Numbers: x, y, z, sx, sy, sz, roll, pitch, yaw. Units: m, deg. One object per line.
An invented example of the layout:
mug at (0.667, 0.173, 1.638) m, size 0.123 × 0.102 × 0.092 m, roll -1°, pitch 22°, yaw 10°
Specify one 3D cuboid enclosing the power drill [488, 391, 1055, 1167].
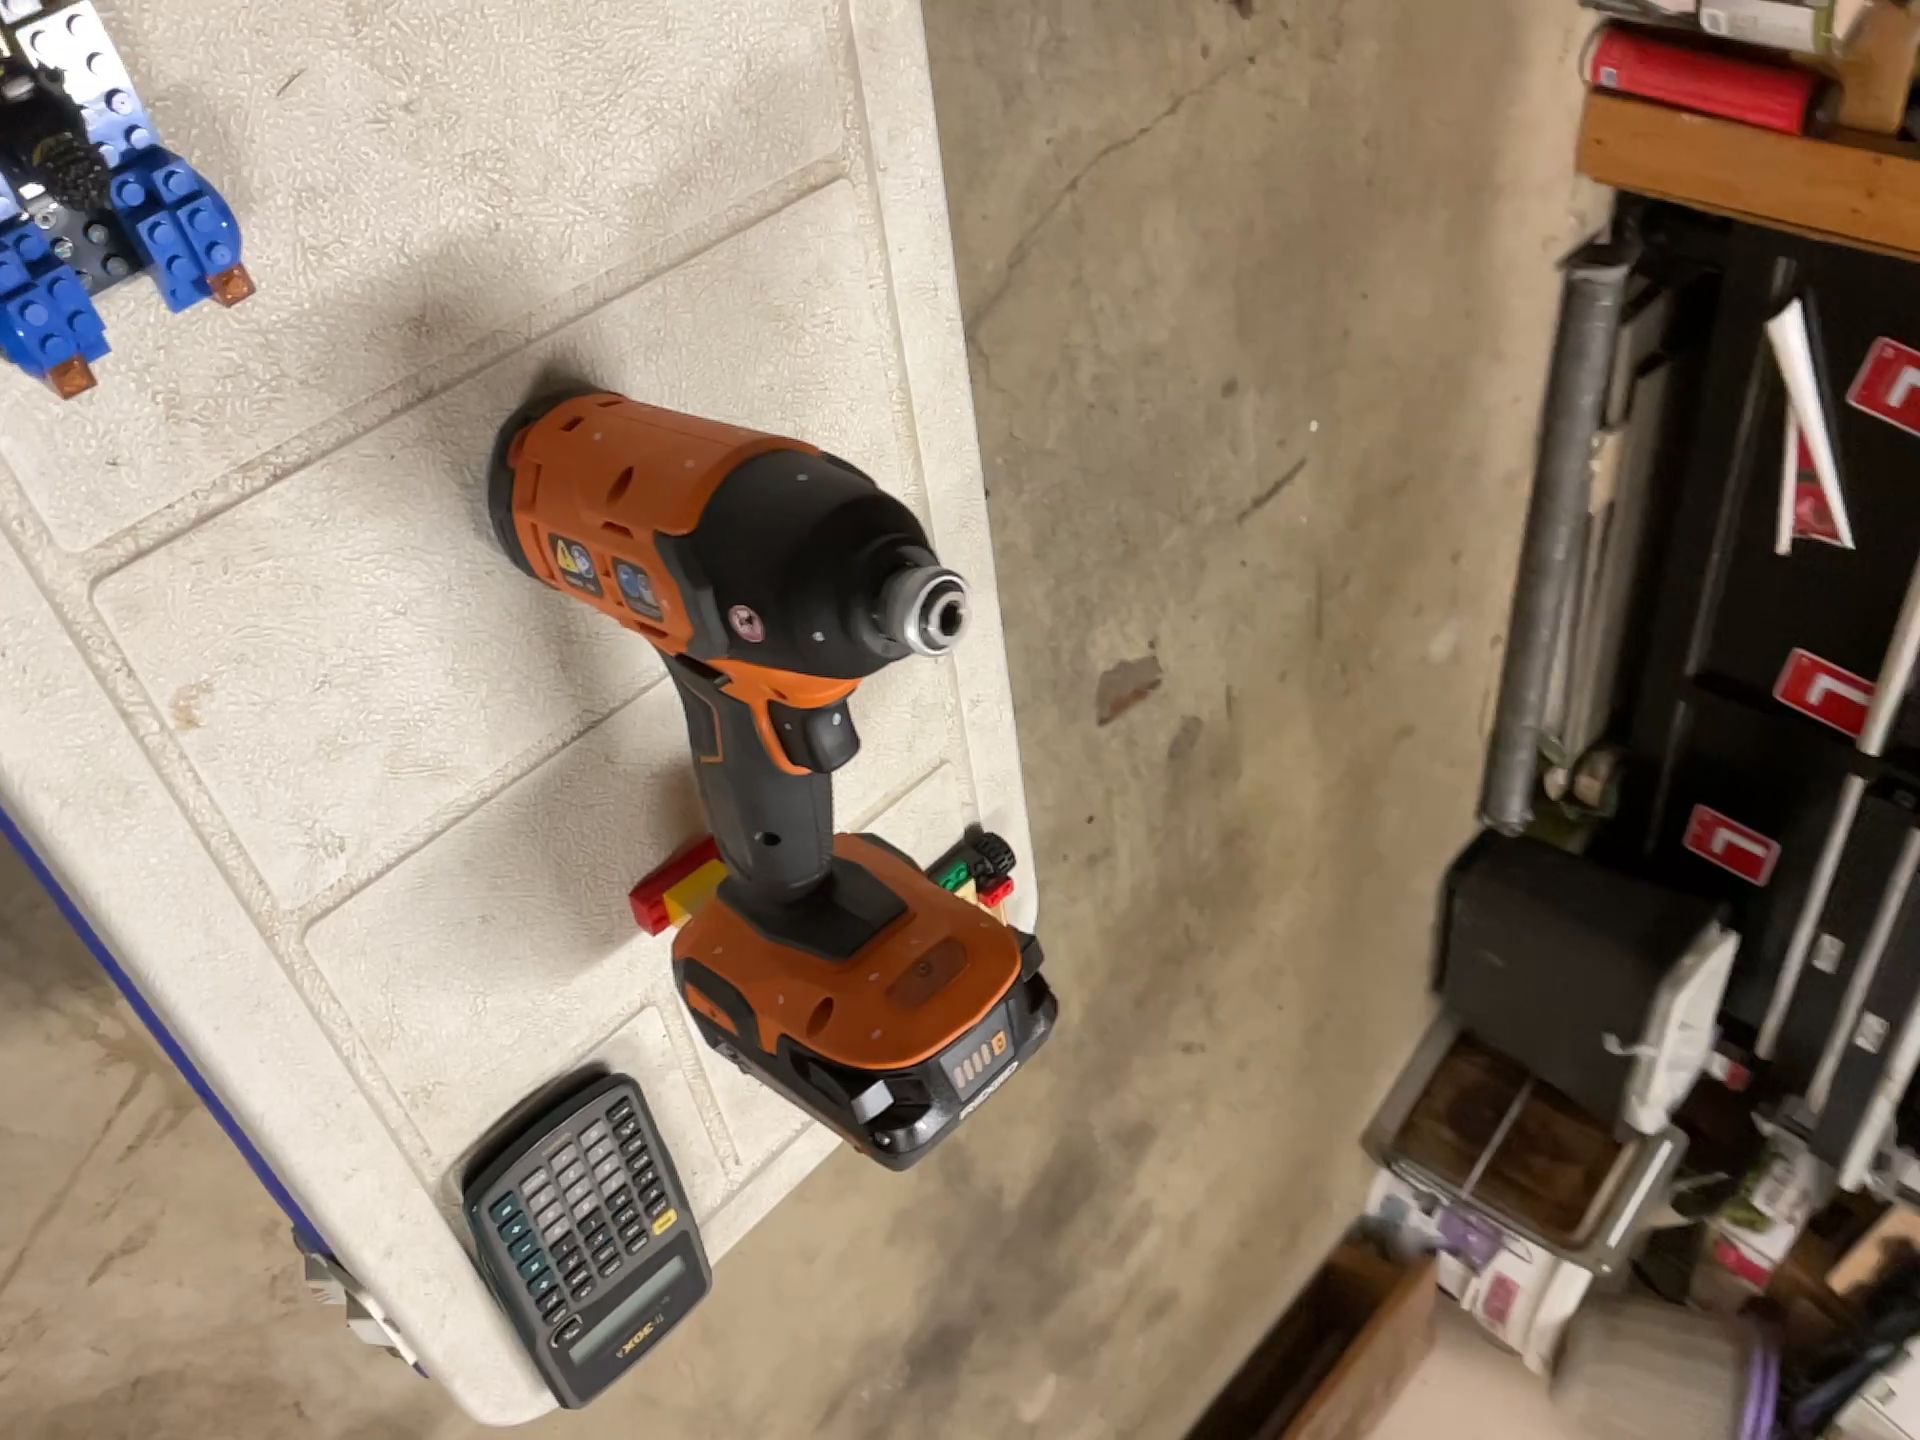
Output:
power drill at (-0.043, 0.020, 0.468) m, size 0.084 × 0.164 × 0.226 m, roll -36°, pitch 128°, yaw -30°
